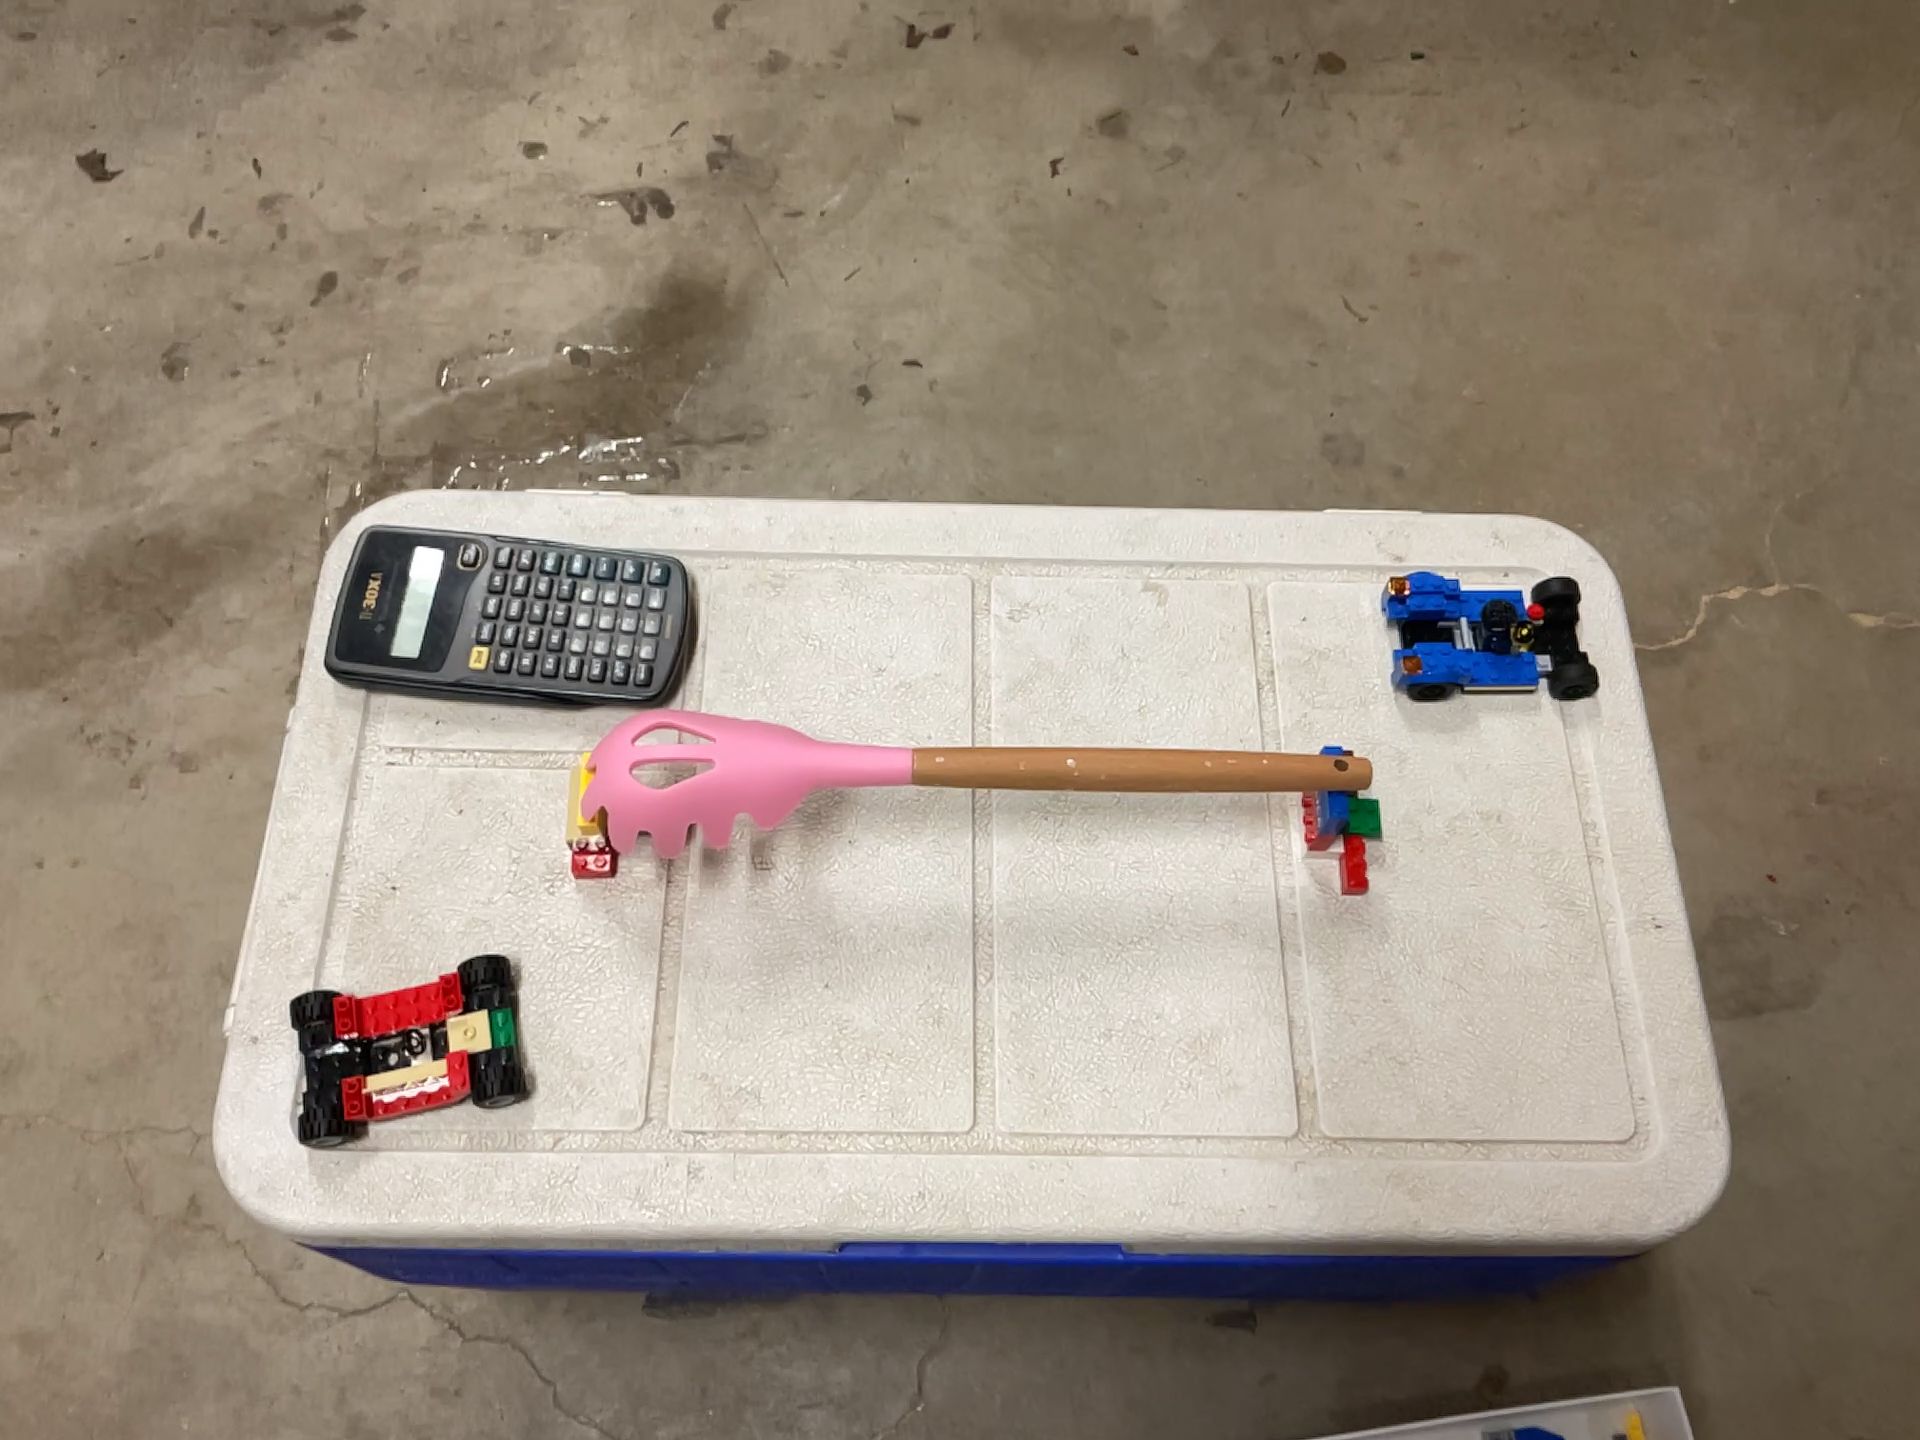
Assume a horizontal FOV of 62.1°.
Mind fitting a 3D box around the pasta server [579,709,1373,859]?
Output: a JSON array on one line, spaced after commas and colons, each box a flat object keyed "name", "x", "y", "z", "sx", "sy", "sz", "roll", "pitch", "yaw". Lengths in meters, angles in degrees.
[{"name": "pasta server", "x": 0.007, "y": 0.022, "z": 0.638, "sx": 0.316, "sy": 0.040, "sz": 0.060, "roll": 1, "pitch": 63, "yaw": -5}]
